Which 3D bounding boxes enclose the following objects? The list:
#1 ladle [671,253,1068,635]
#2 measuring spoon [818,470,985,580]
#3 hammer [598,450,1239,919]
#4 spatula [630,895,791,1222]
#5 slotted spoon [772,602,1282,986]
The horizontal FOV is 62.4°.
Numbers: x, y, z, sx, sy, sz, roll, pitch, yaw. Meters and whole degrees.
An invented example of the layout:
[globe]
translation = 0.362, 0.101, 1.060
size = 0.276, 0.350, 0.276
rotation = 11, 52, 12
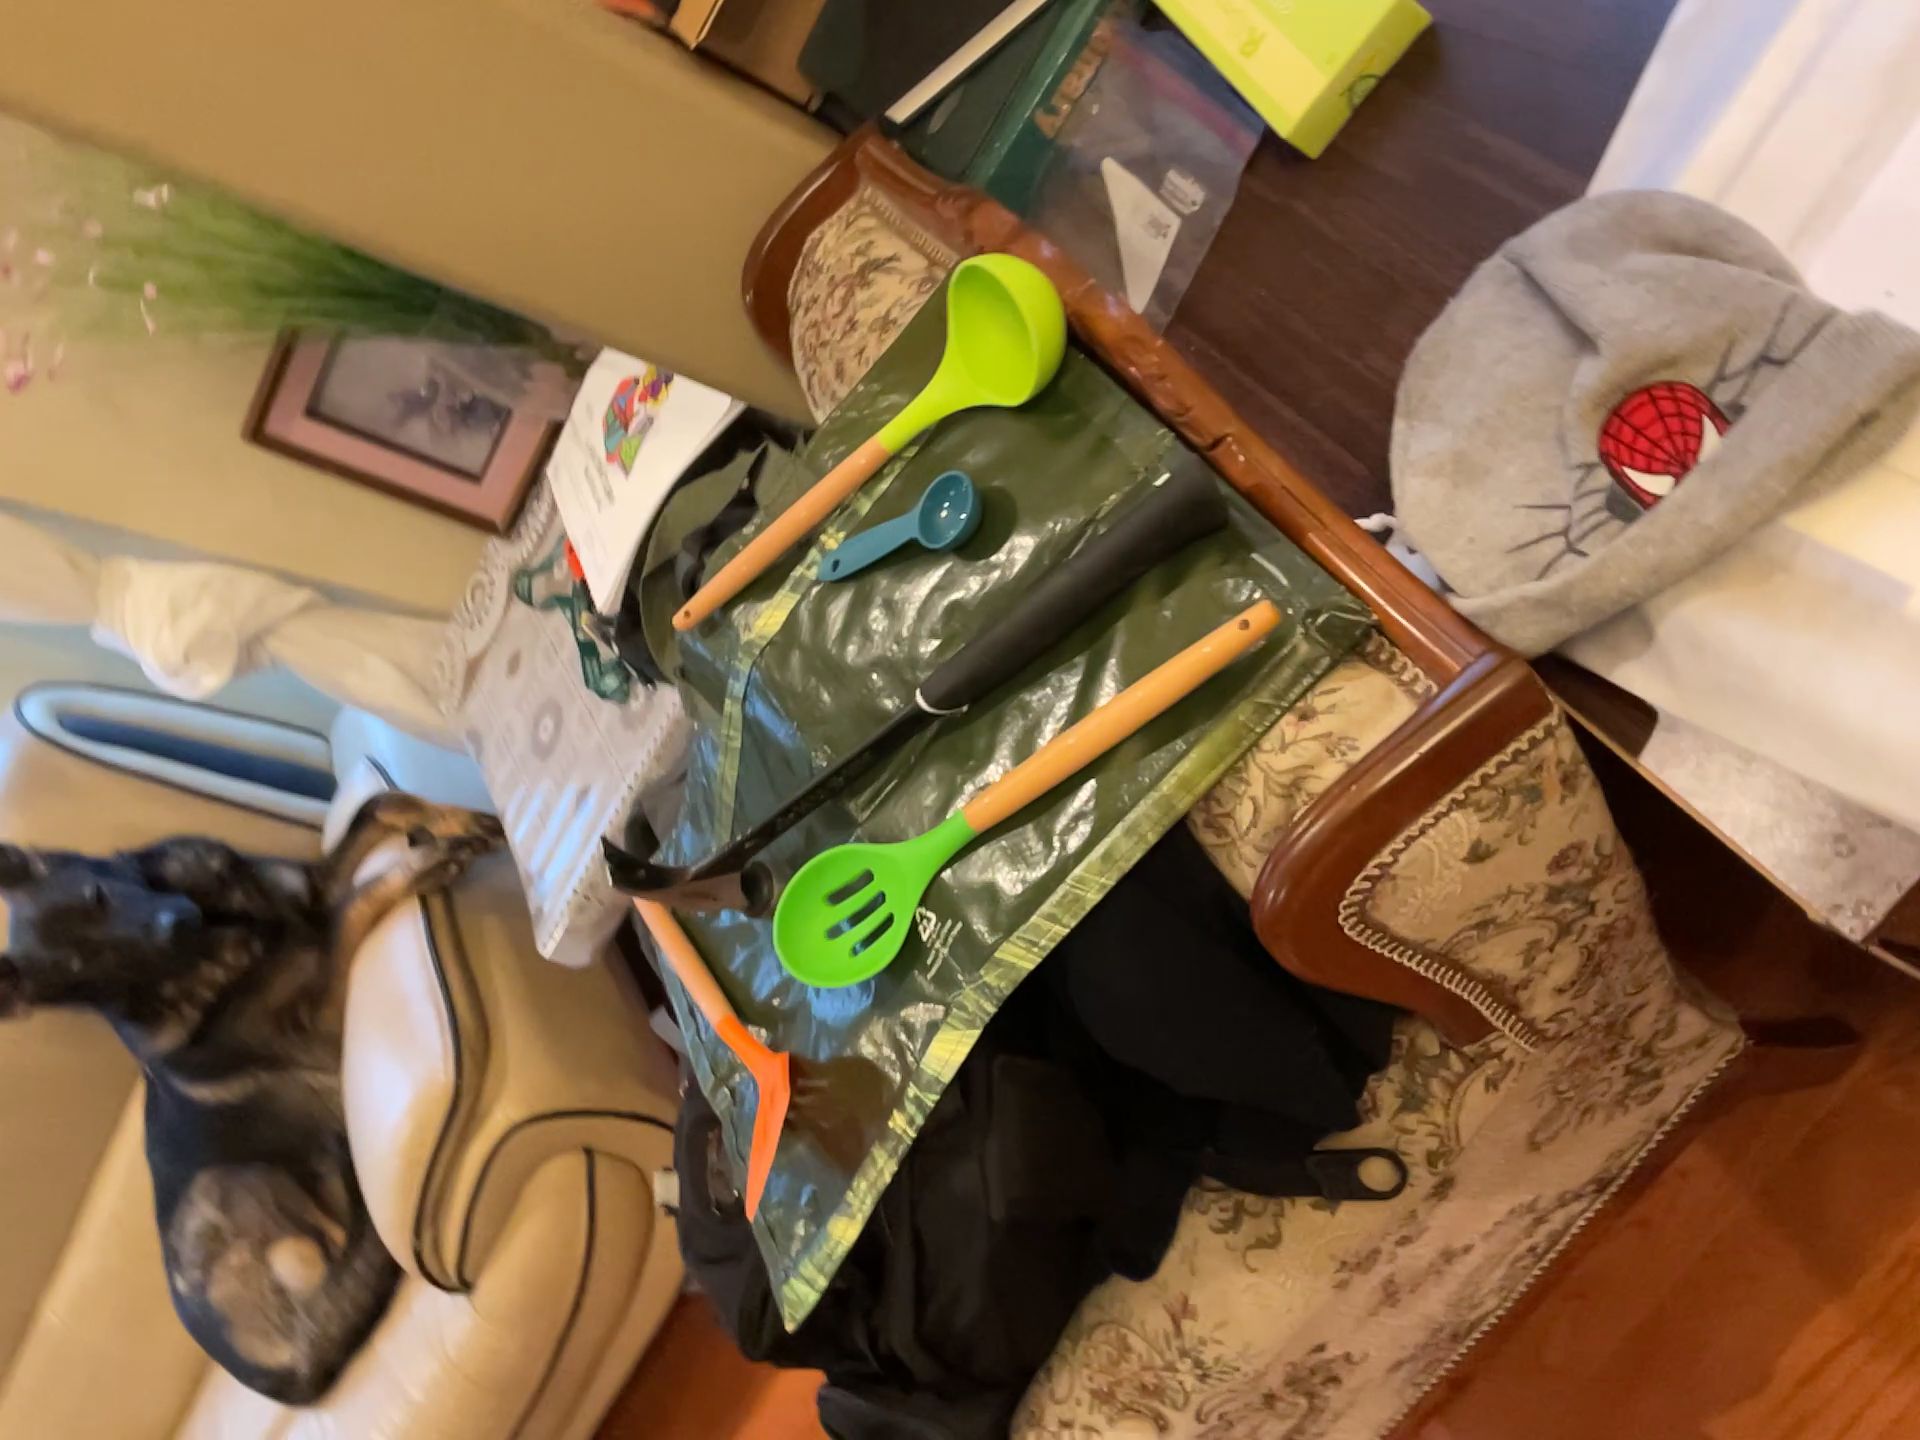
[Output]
[ladle]
translation = -0.065, -0.138, 0.880
size = 0.320, 0.062, 0.078
rotation = -36, 78, 29
[measuring spoon]
translation = -0.030, -0.097, 0.858
size = 0.129, 0.021, 0.042
rotation = -19, 62, 44
[hammer]
translation = -0.023, -0.006, 0.819
size = 0.409, 0.149, 0.036
rotation = -37, 61, 28
[spatula]
translation = -0.161, 0.174, 0.976
size = 0.323, 0.041, 0.081
rotation = 41, 117, 51
[slotted spoon]
translation = 0.026, 0.037, 0.768
size = 0.314, 0.031, 0.070
rotation = -37, 67, 25
